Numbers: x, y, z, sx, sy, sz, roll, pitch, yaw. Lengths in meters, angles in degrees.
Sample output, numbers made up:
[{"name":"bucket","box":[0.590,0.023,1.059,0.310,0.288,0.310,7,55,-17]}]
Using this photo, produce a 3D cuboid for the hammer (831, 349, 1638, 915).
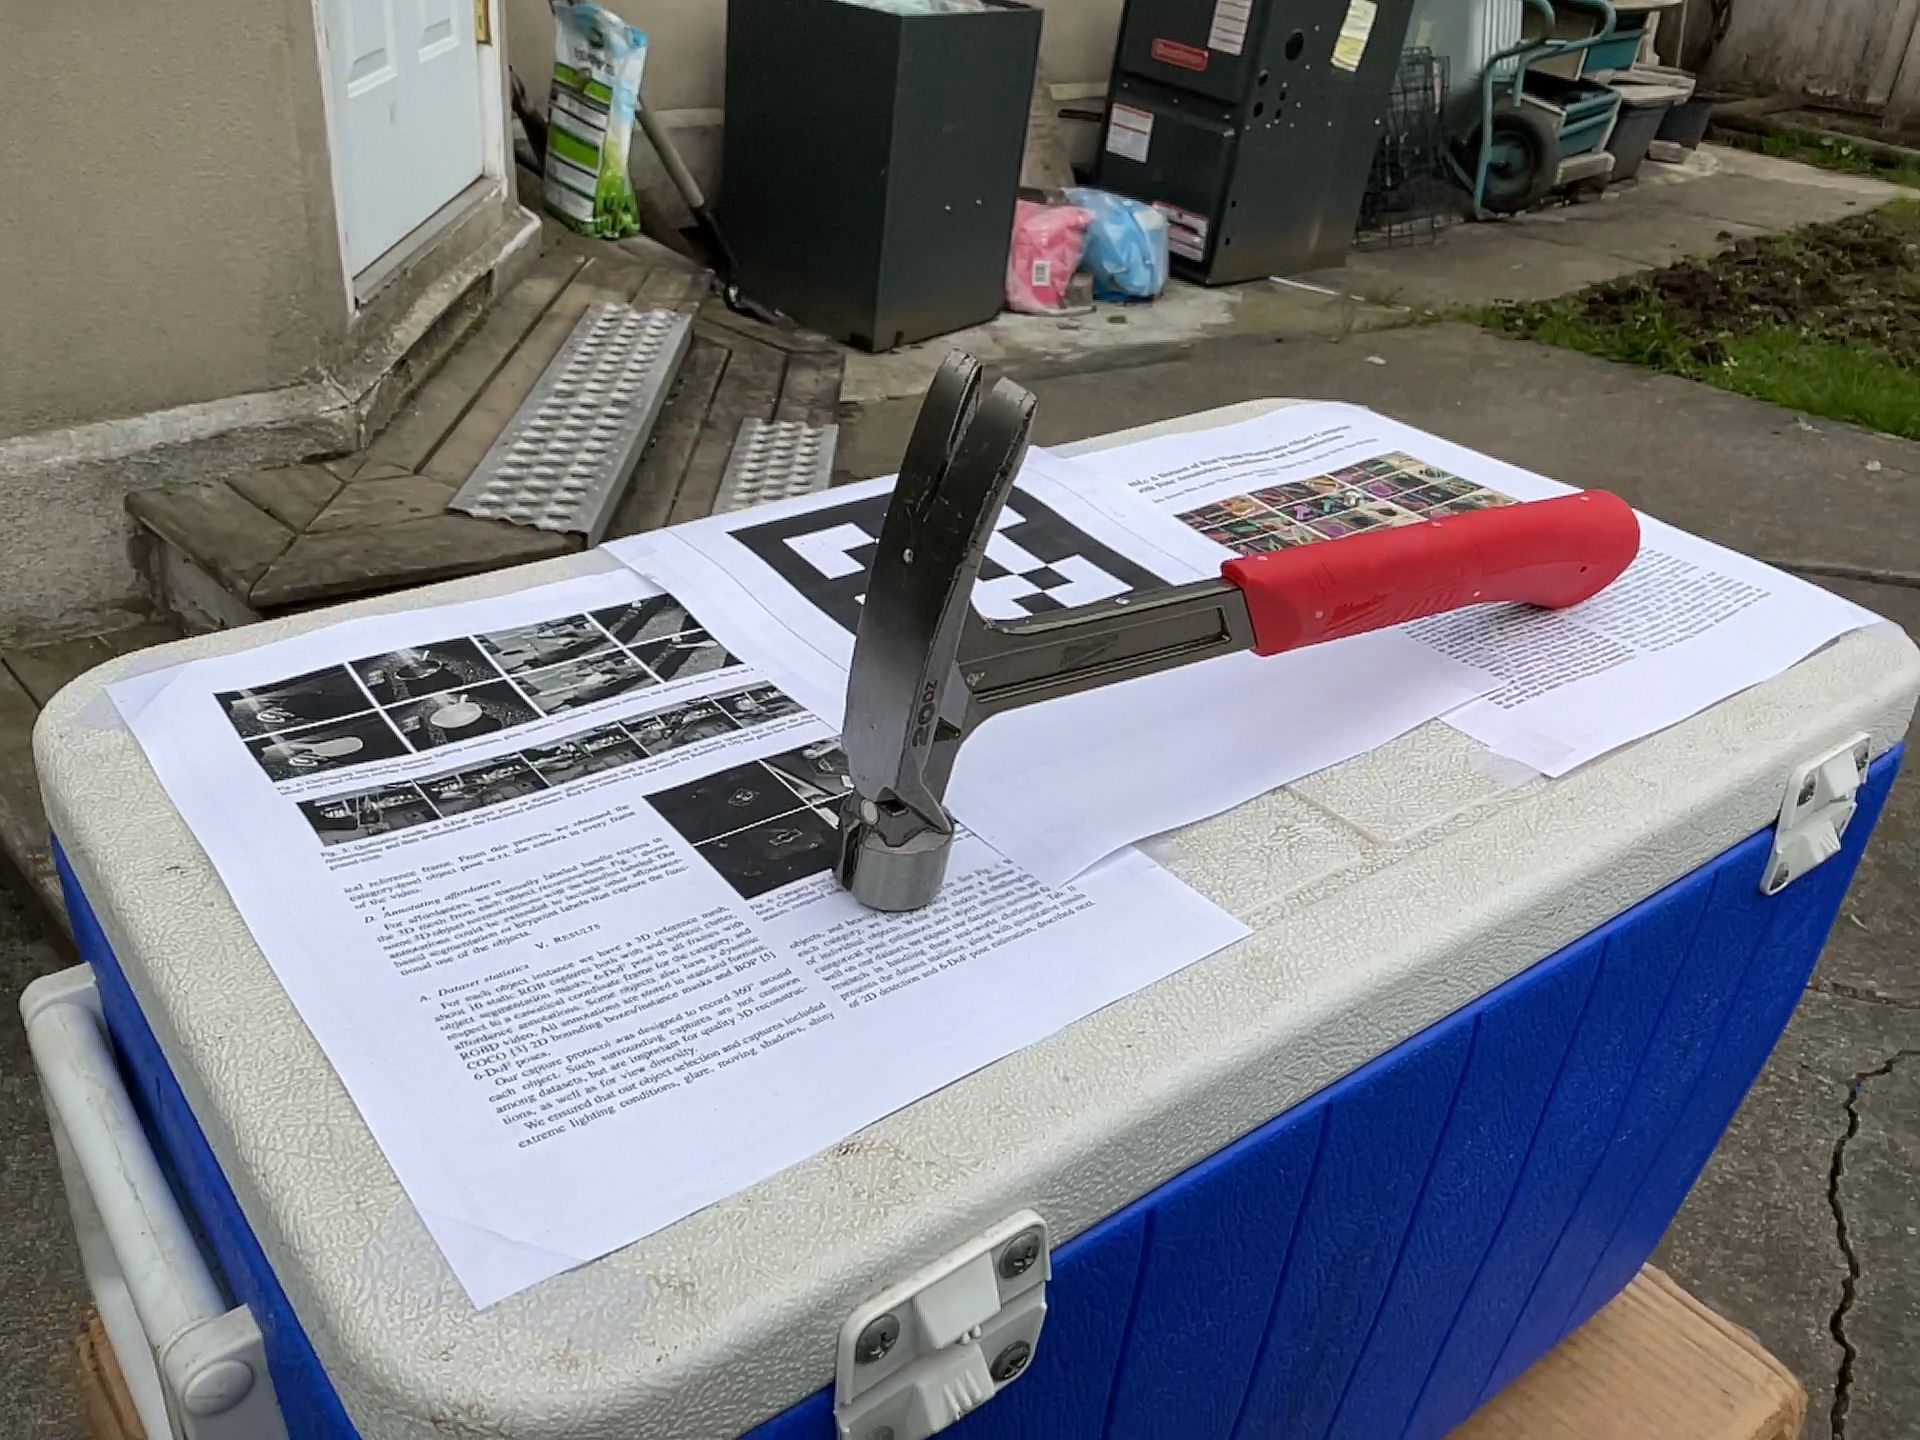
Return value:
[{"name":"hammer","box":[0.115,-0.047,0.503,0.359,0.149,0.037,-14,41,-40]}]
